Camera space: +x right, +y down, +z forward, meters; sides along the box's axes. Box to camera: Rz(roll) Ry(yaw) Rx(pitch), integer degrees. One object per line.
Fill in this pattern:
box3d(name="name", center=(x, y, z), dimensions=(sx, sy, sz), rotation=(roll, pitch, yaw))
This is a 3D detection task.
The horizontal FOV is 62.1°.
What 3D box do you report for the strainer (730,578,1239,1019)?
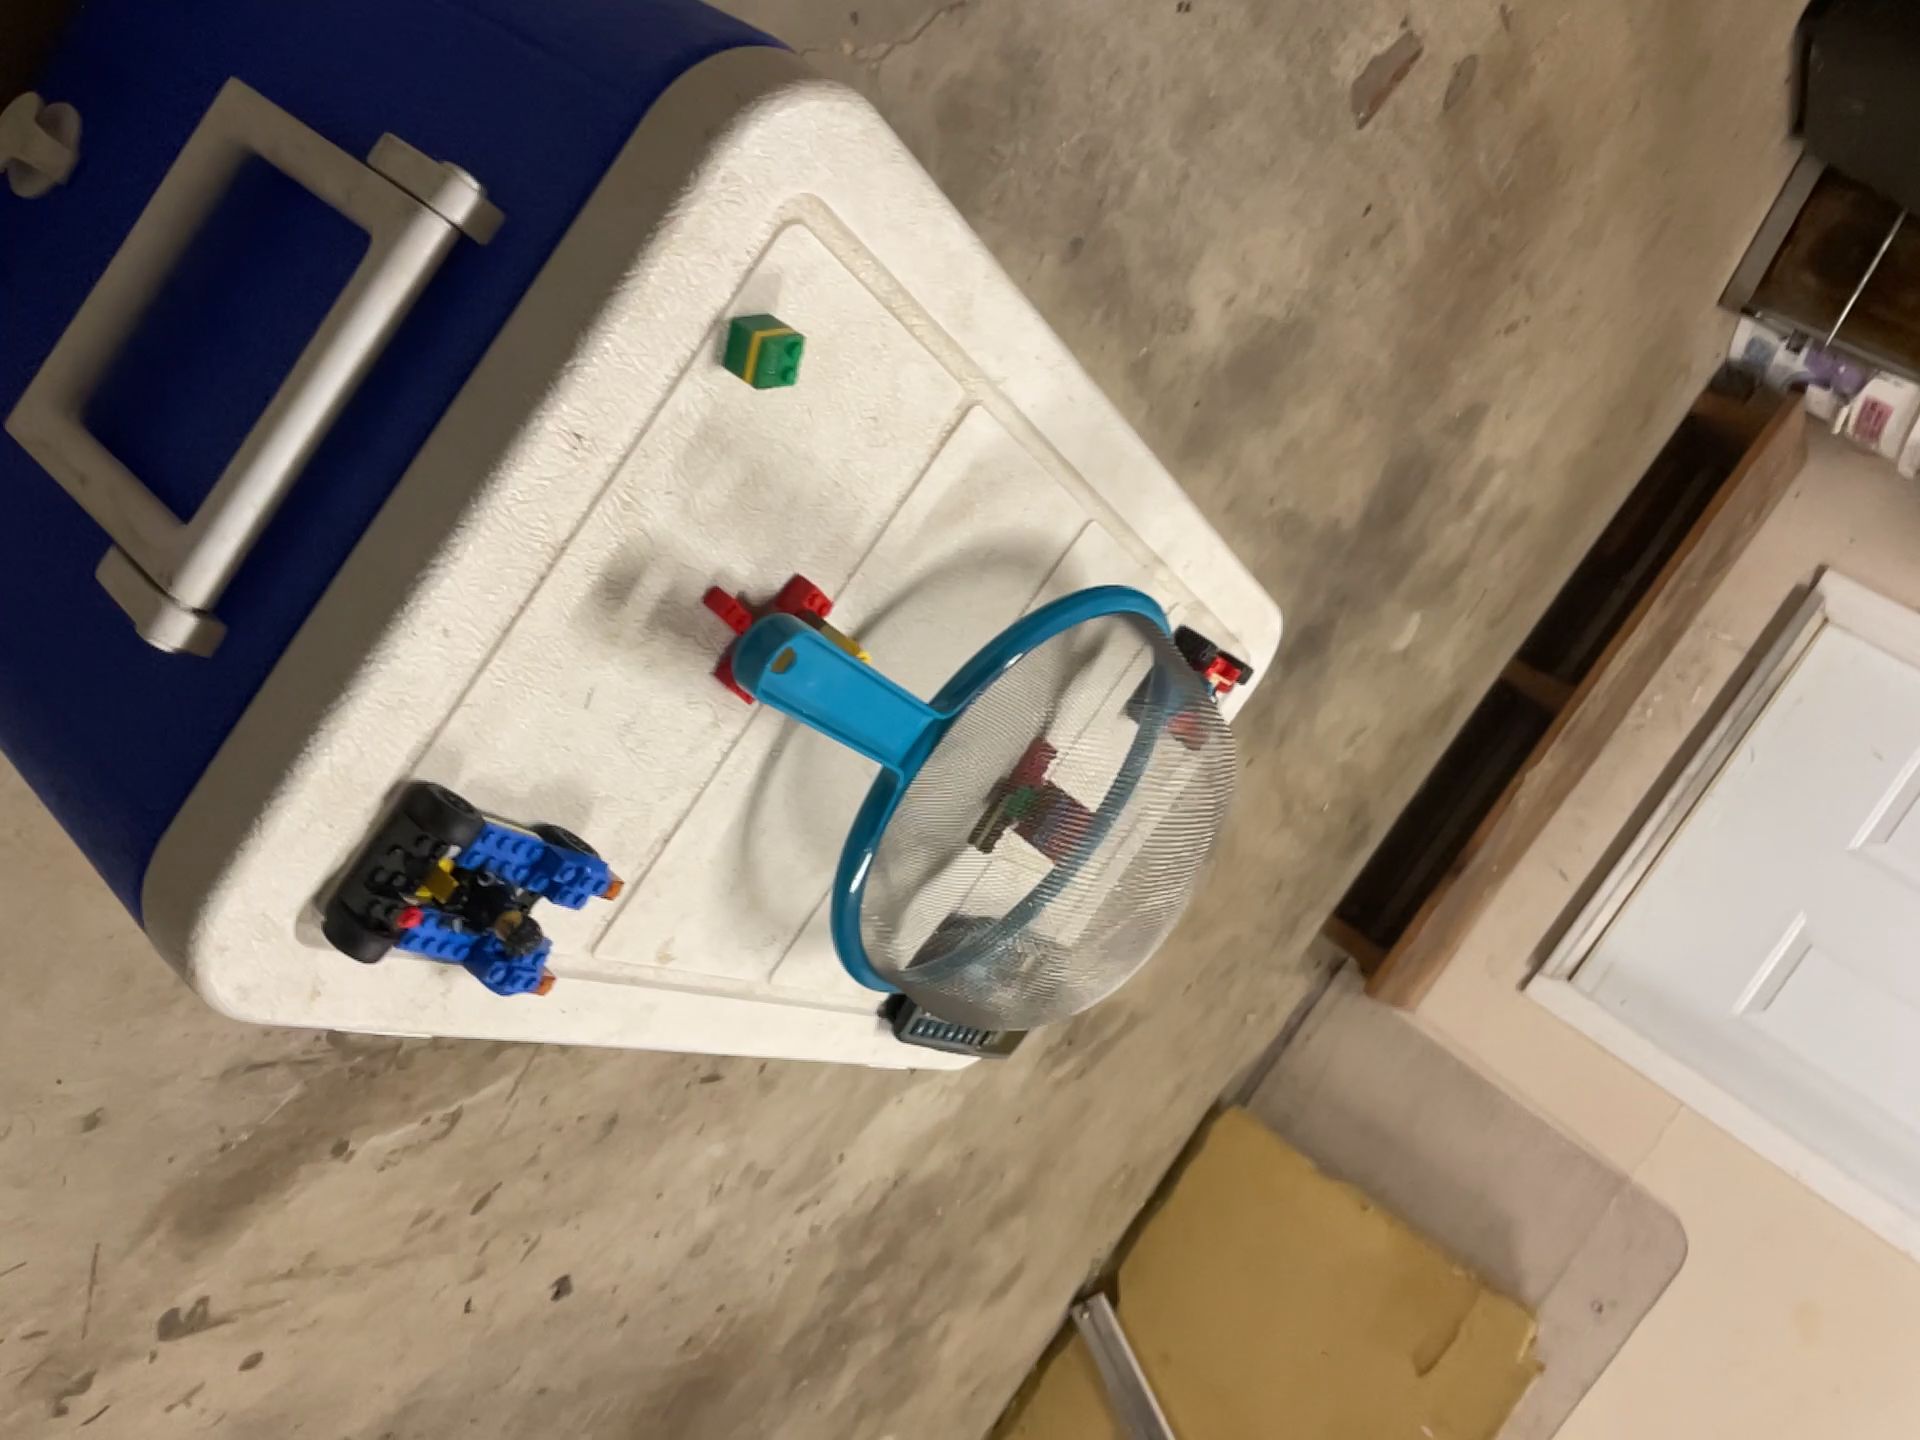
box3d(name="strainer", center=(0.027, 0.037, 0.620), dimensions=(0.211, 0.095, 0.340), rotation=(-54, 153, 2))
